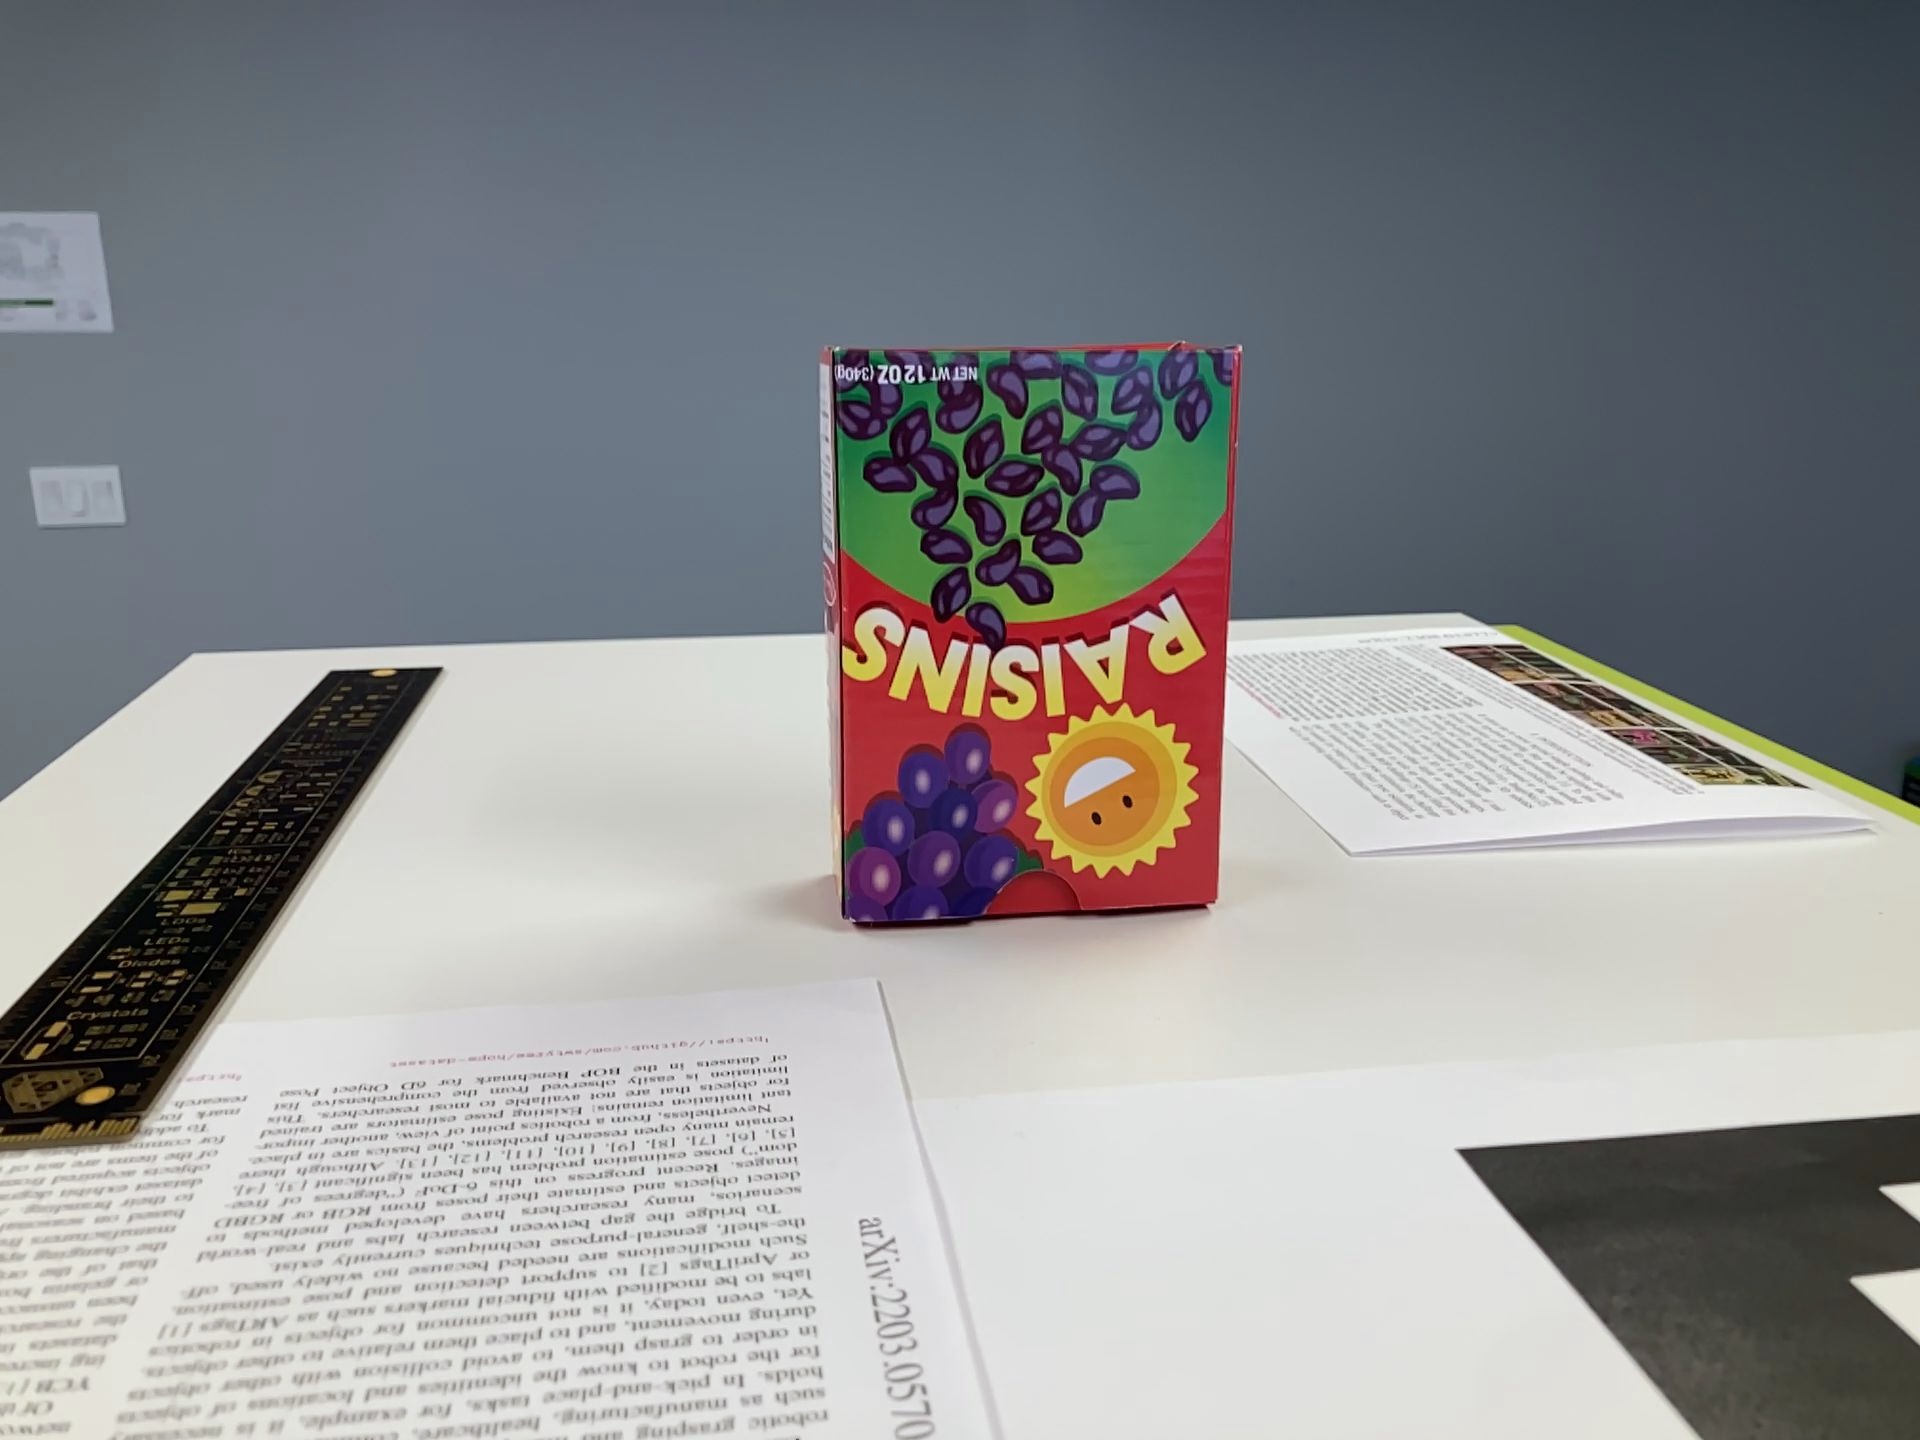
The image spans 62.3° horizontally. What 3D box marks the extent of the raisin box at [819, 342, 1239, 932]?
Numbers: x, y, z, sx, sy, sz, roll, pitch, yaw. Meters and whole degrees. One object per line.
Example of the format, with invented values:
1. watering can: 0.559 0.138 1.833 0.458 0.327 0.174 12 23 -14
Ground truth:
1. raisin box: 0.014 -0.019 0.347 0.086 0.123 0.040 -2 14 -9
